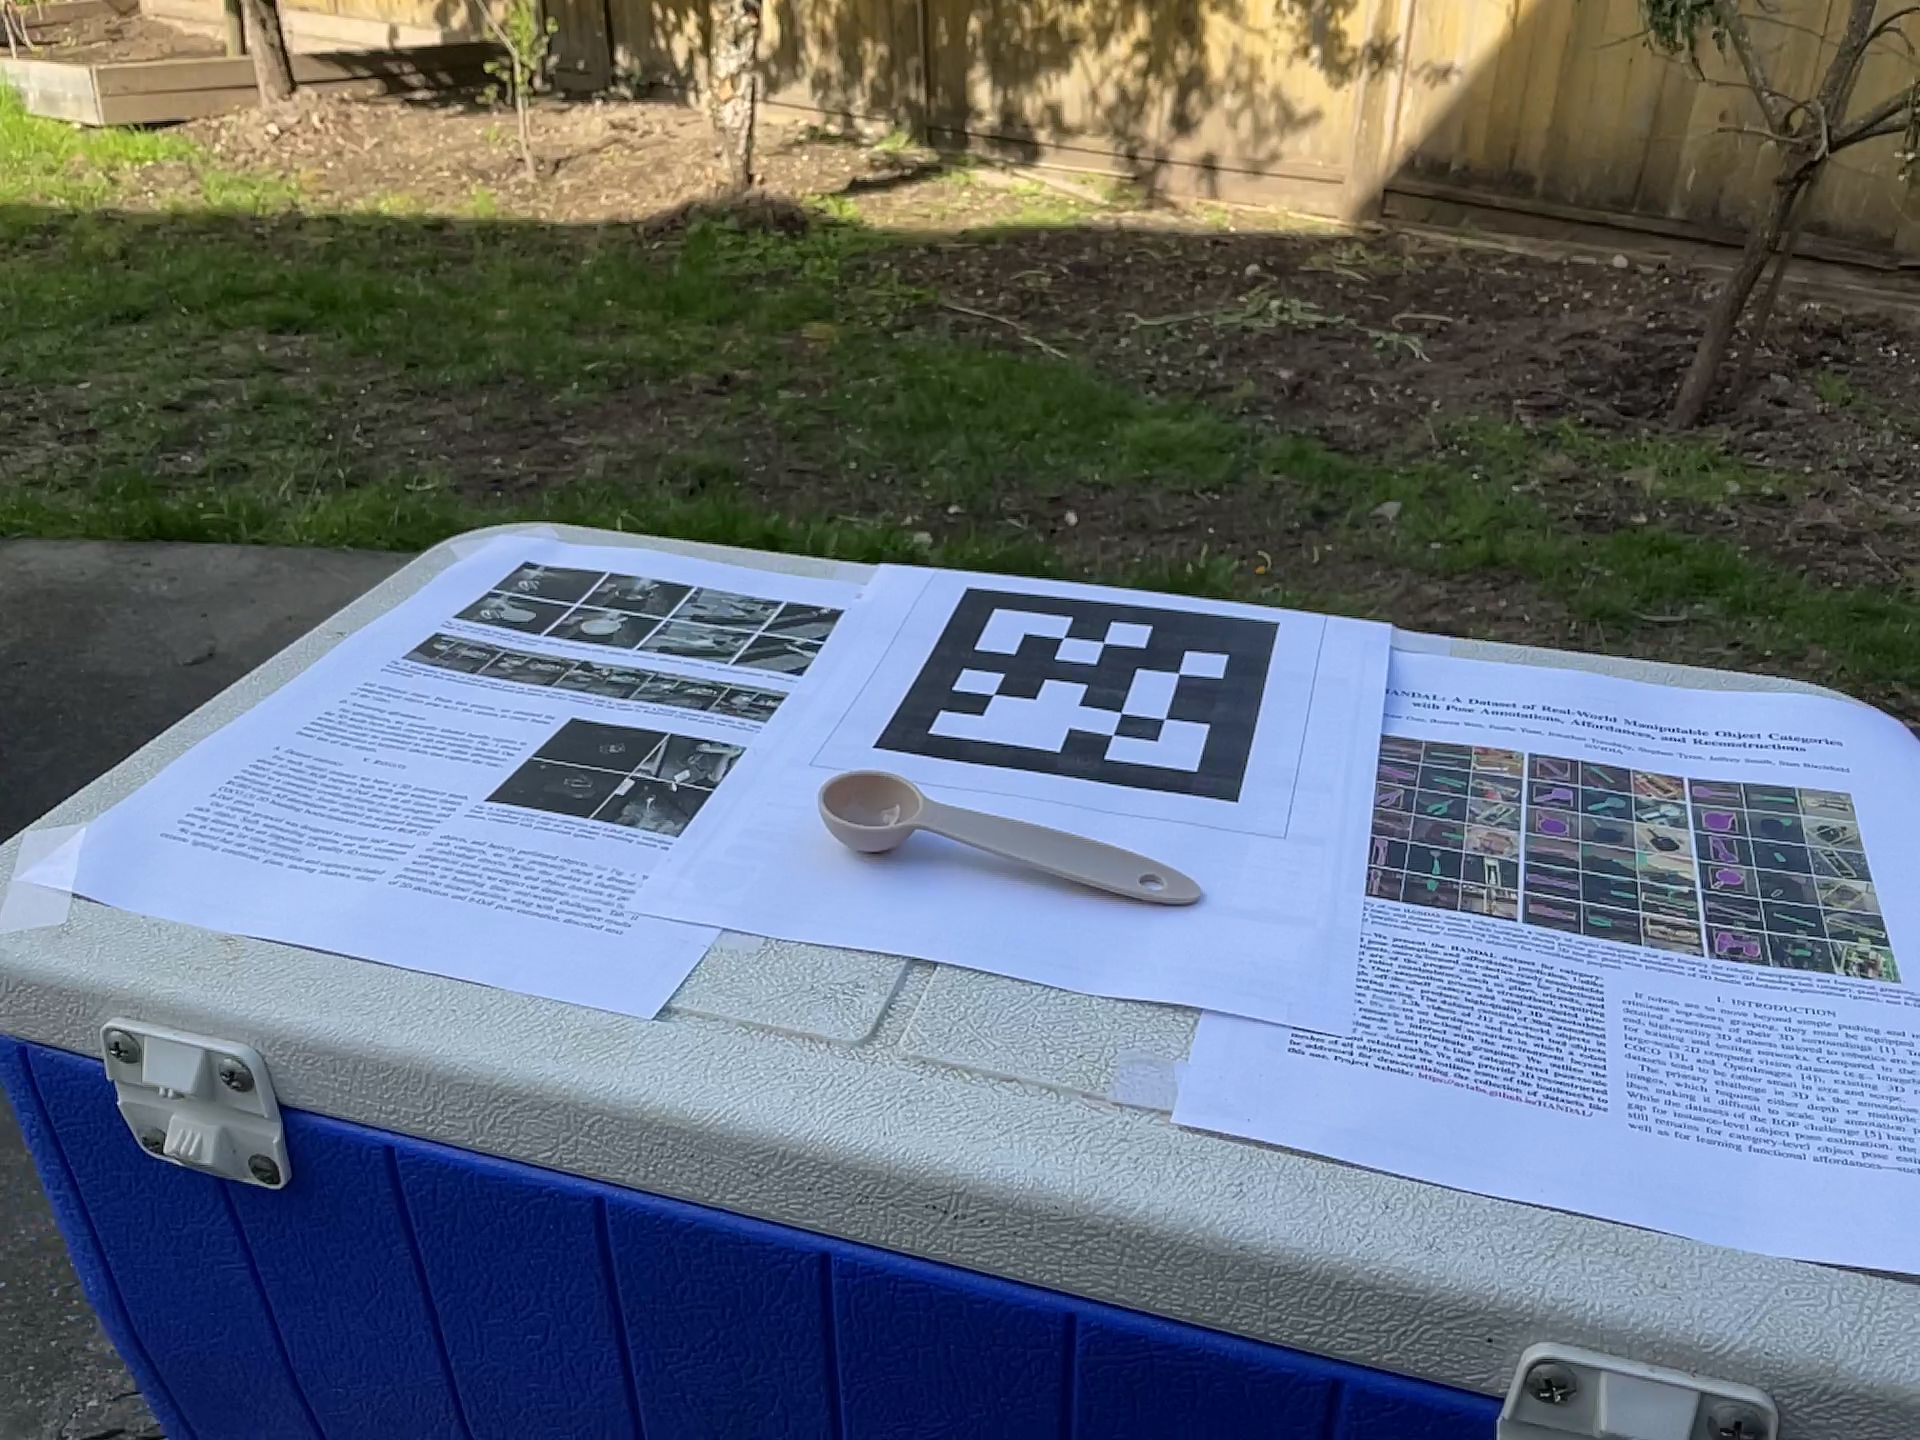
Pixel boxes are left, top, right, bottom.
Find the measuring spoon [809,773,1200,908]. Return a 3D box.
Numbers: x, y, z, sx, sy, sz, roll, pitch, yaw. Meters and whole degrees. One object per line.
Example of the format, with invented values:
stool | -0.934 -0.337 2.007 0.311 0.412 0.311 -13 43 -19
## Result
measuring spoon | 0.012 0.043 0.495 0.124 0.018 0.034 15 31 11
